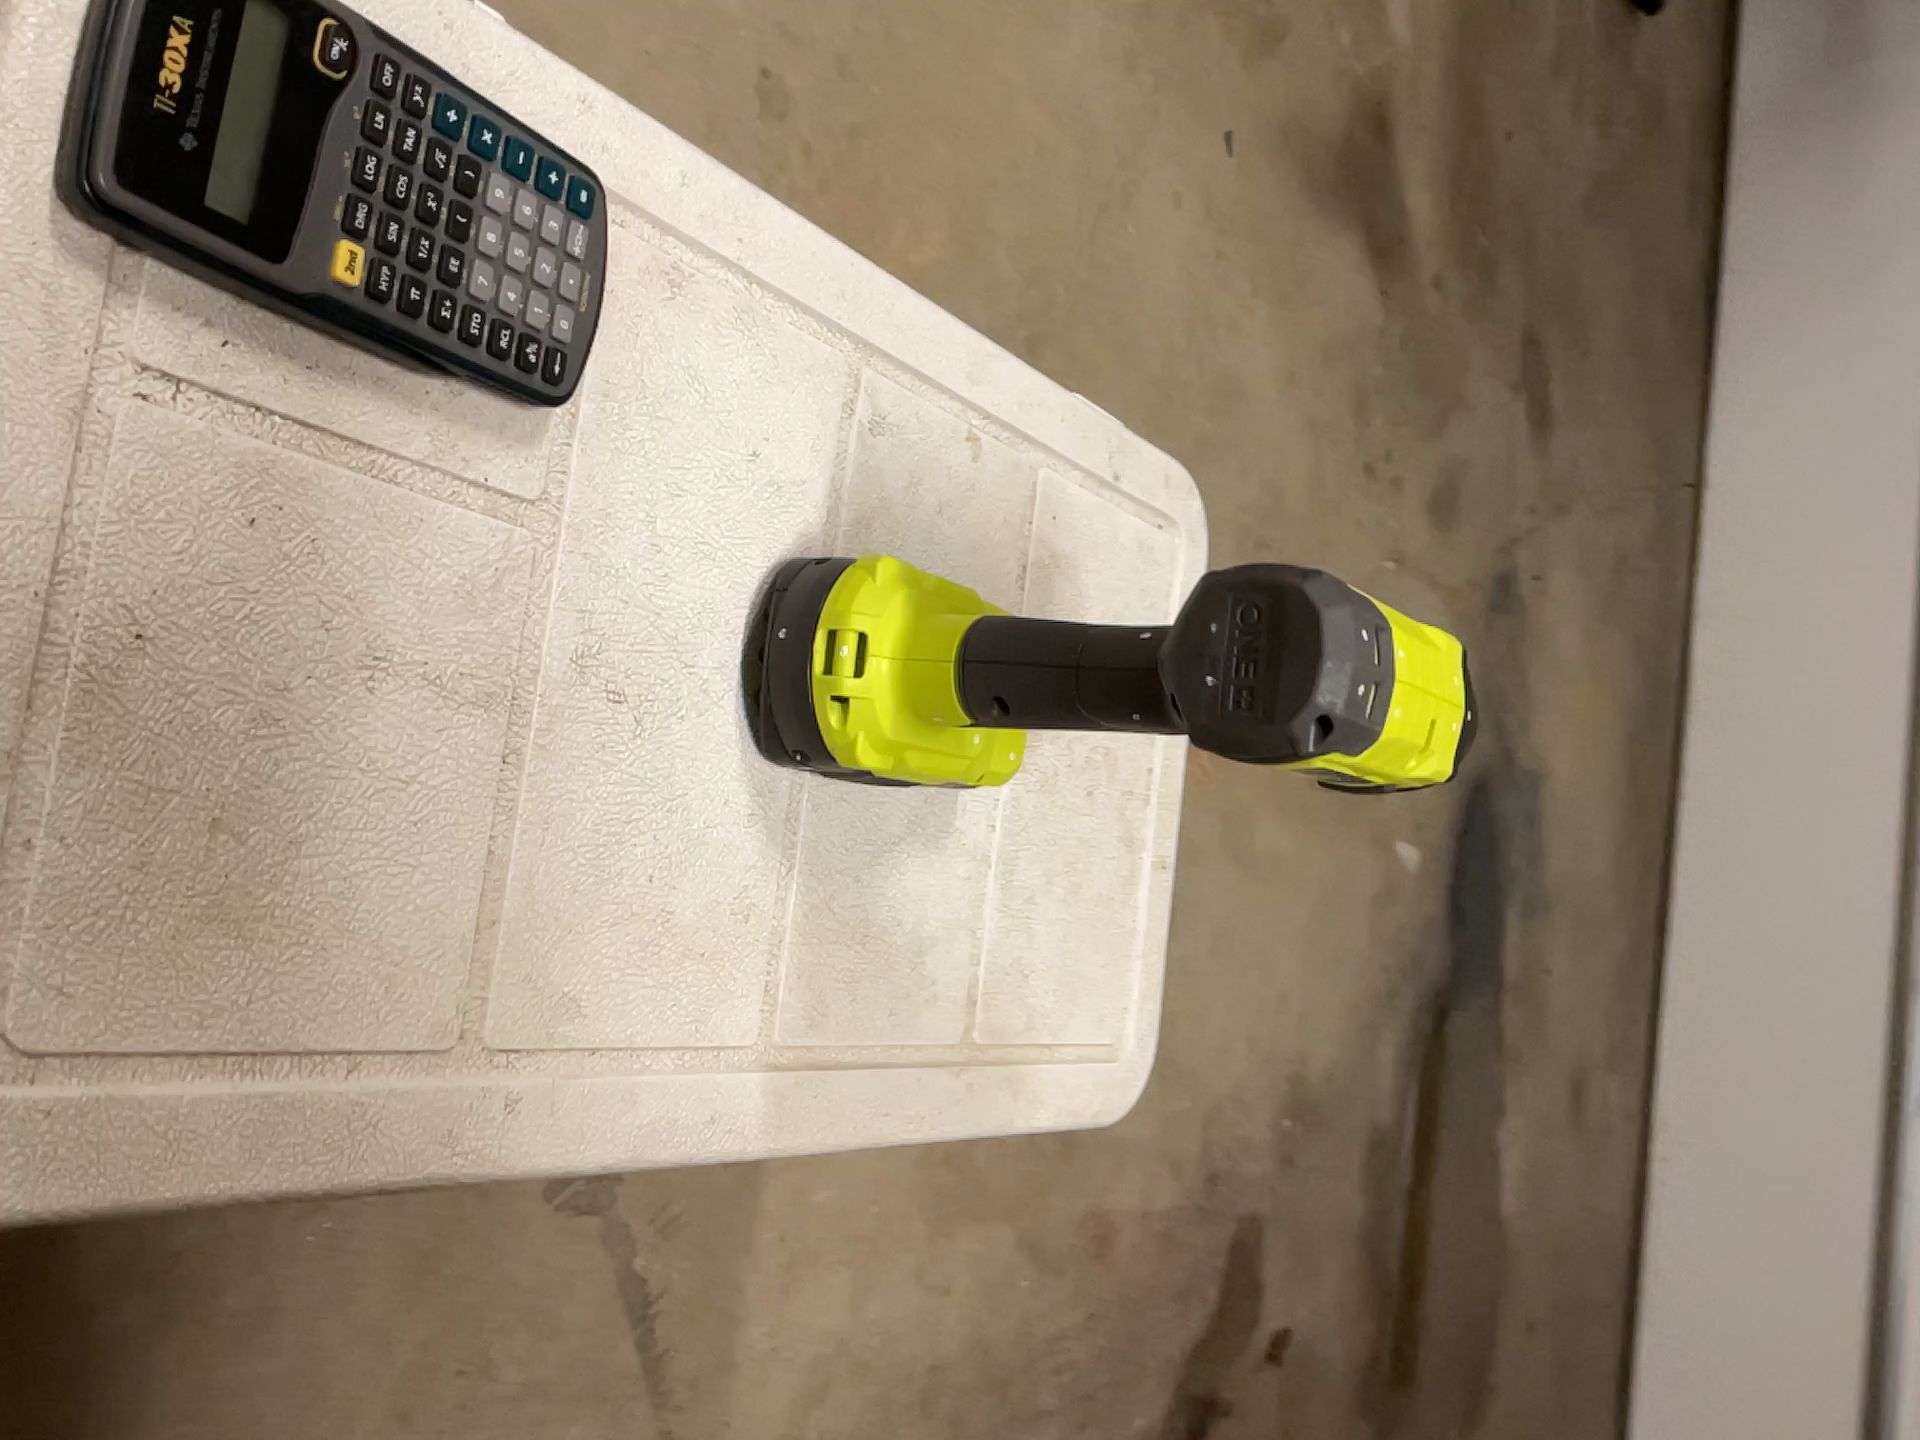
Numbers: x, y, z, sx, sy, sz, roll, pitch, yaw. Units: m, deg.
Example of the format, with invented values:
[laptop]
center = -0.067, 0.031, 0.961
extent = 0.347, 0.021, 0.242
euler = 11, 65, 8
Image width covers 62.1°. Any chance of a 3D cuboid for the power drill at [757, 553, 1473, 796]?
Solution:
[power drill]
center = 0.057, -0.010, 0.559
extent = 0.171, 0.223, 0.080
euler = 13, 82, -56
